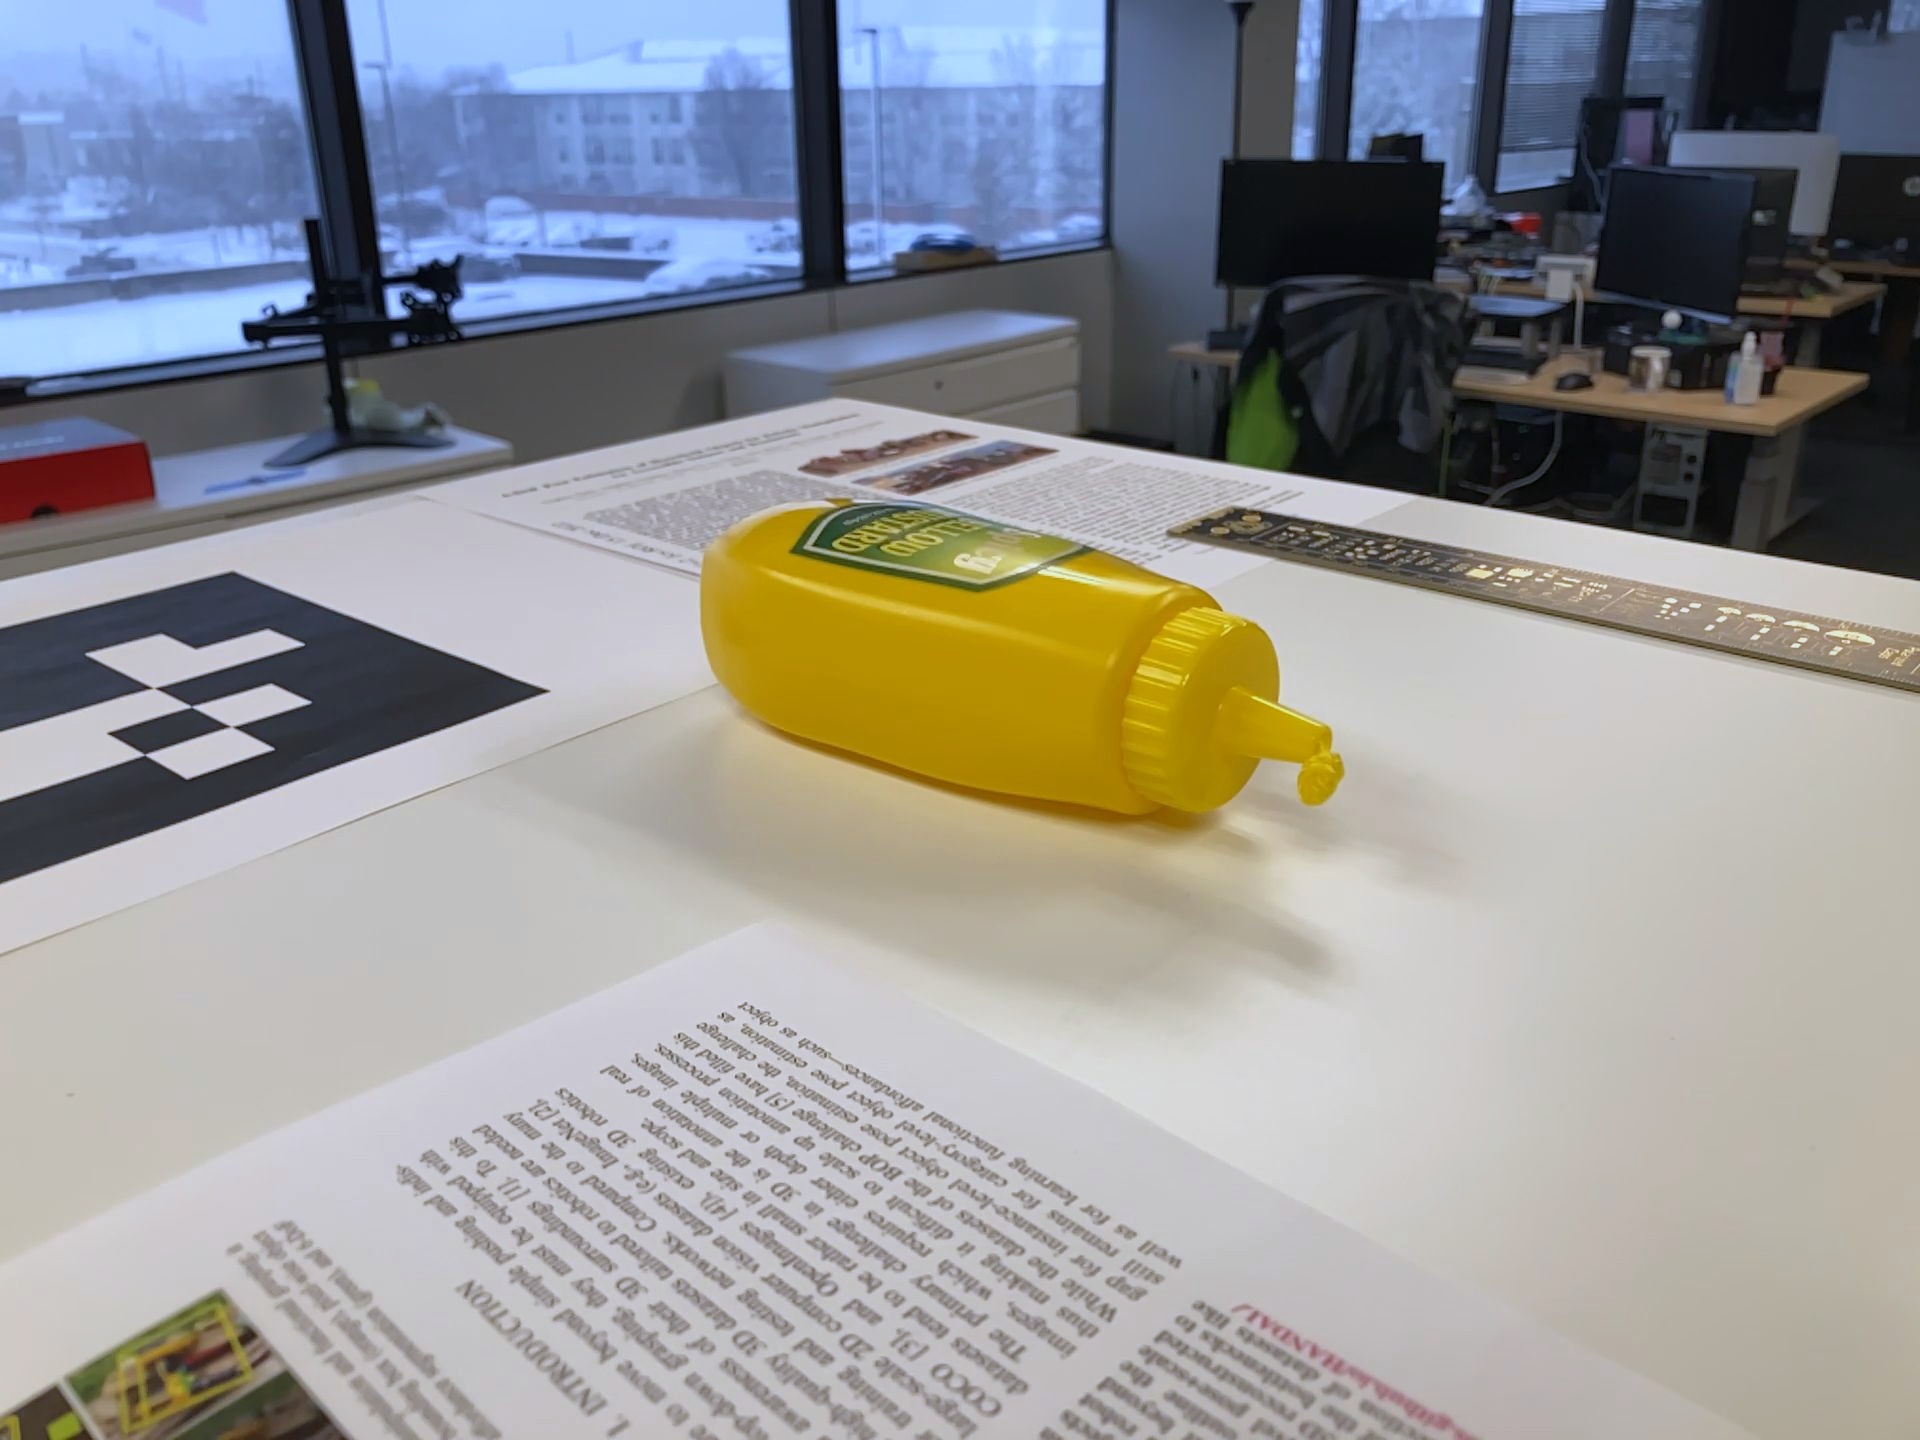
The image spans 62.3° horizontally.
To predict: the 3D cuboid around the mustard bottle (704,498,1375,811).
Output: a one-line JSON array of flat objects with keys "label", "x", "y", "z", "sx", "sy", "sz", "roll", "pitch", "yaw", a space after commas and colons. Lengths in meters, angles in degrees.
[{"label": "mustard bottle", "x": 0.016, "y": -0.013, "z": 0.336, "sx": 0.160, "sy": 0.049, "sz": 0.065, "roll": 17, "pitch": 29, "yaw": 37}]
